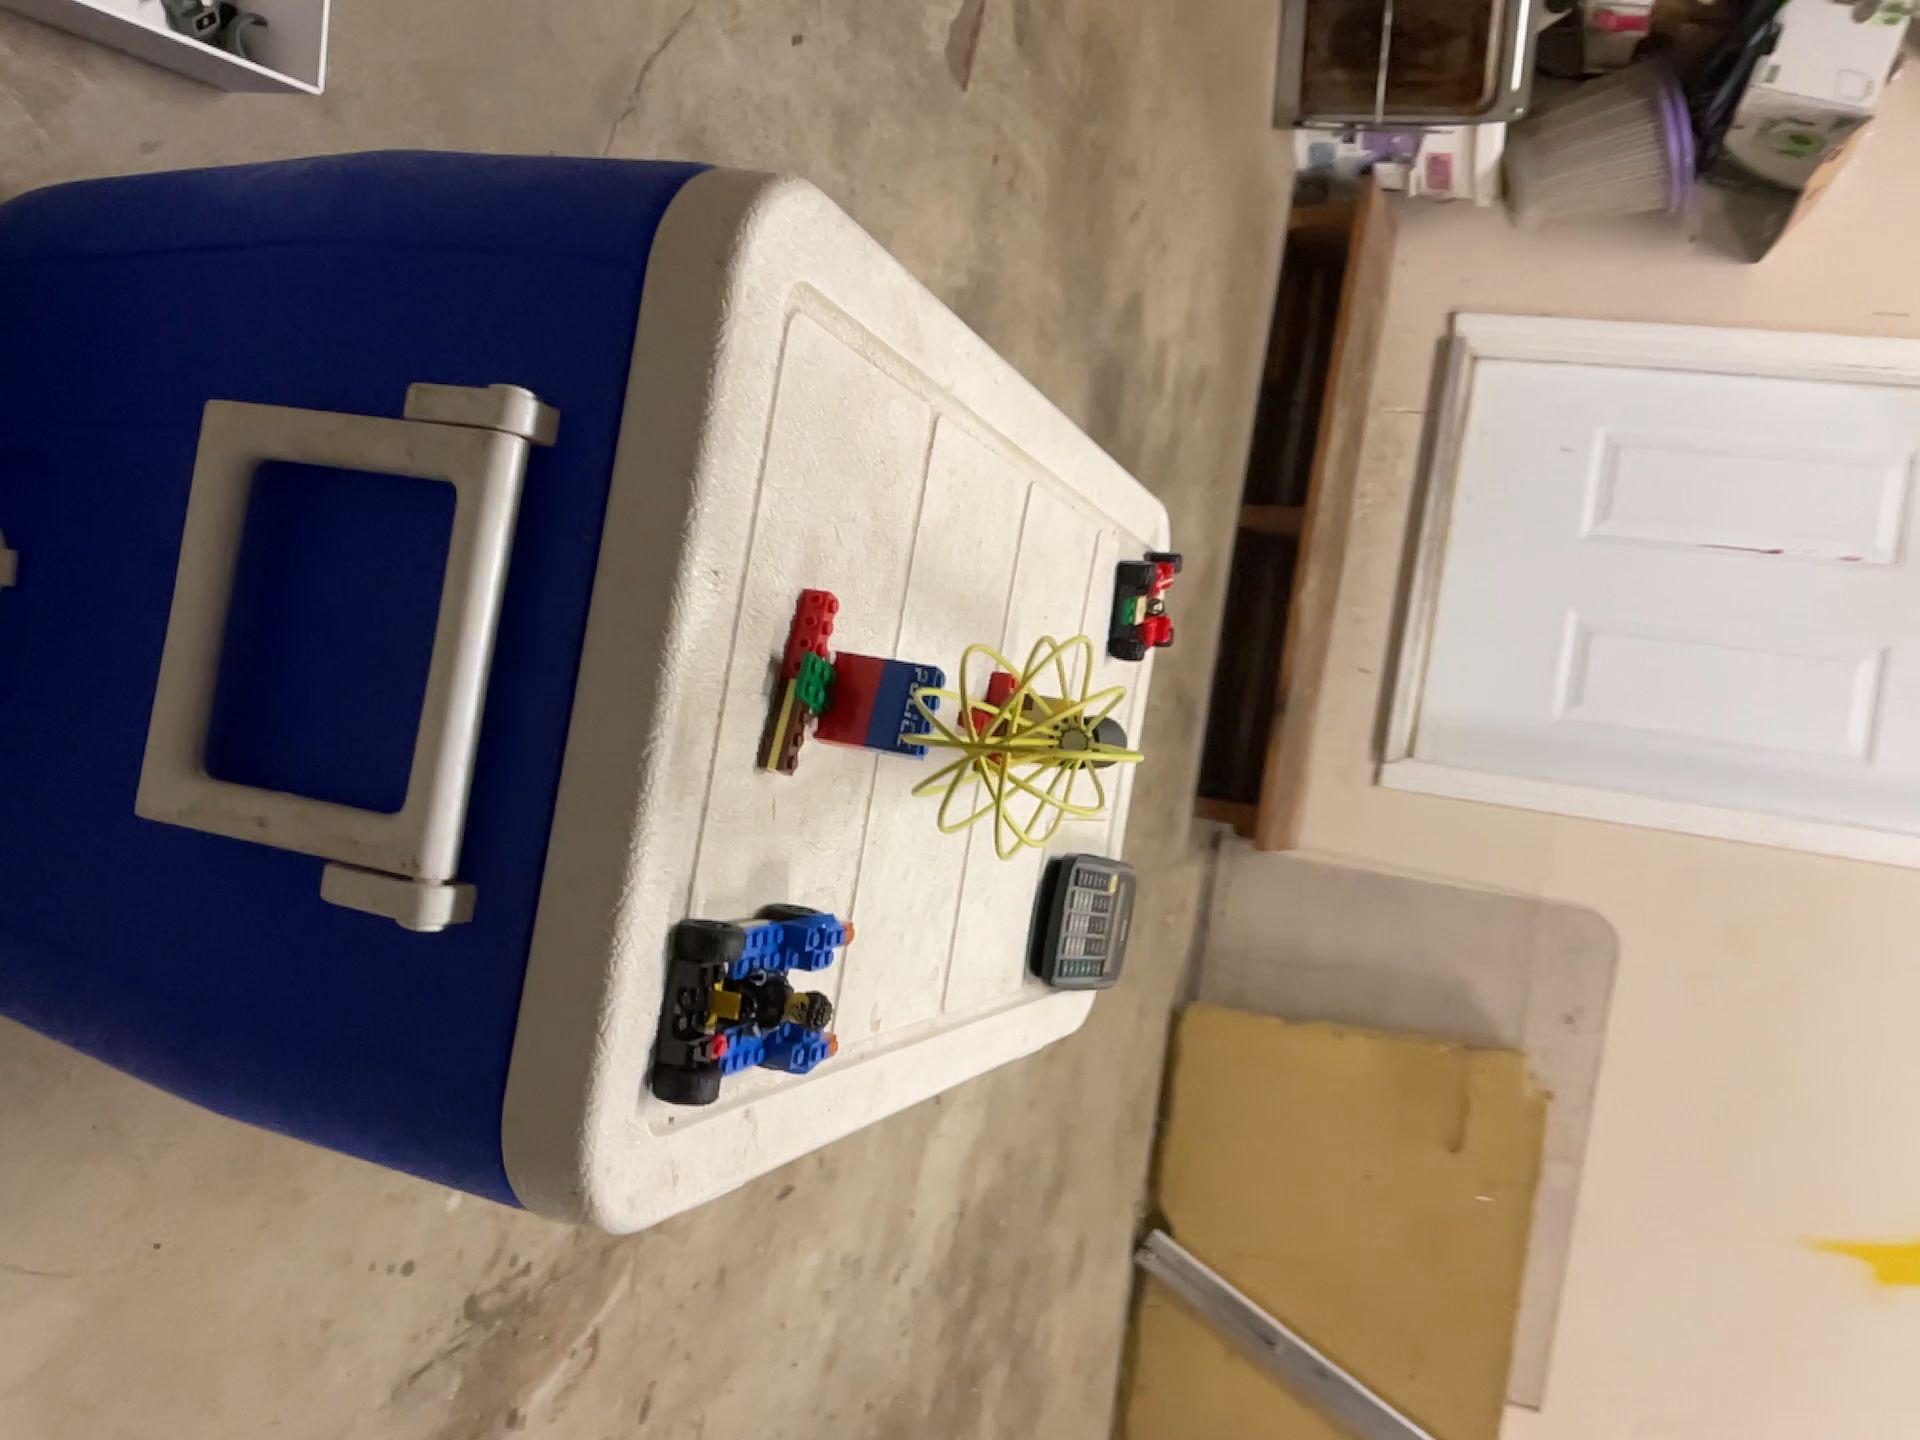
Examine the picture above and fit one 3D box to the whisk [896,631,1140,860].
[{"bbox_3d":[0.038,0.007,0.613,0.080,0.067,0.311,-36,173,9],"label":"whisk"}]
